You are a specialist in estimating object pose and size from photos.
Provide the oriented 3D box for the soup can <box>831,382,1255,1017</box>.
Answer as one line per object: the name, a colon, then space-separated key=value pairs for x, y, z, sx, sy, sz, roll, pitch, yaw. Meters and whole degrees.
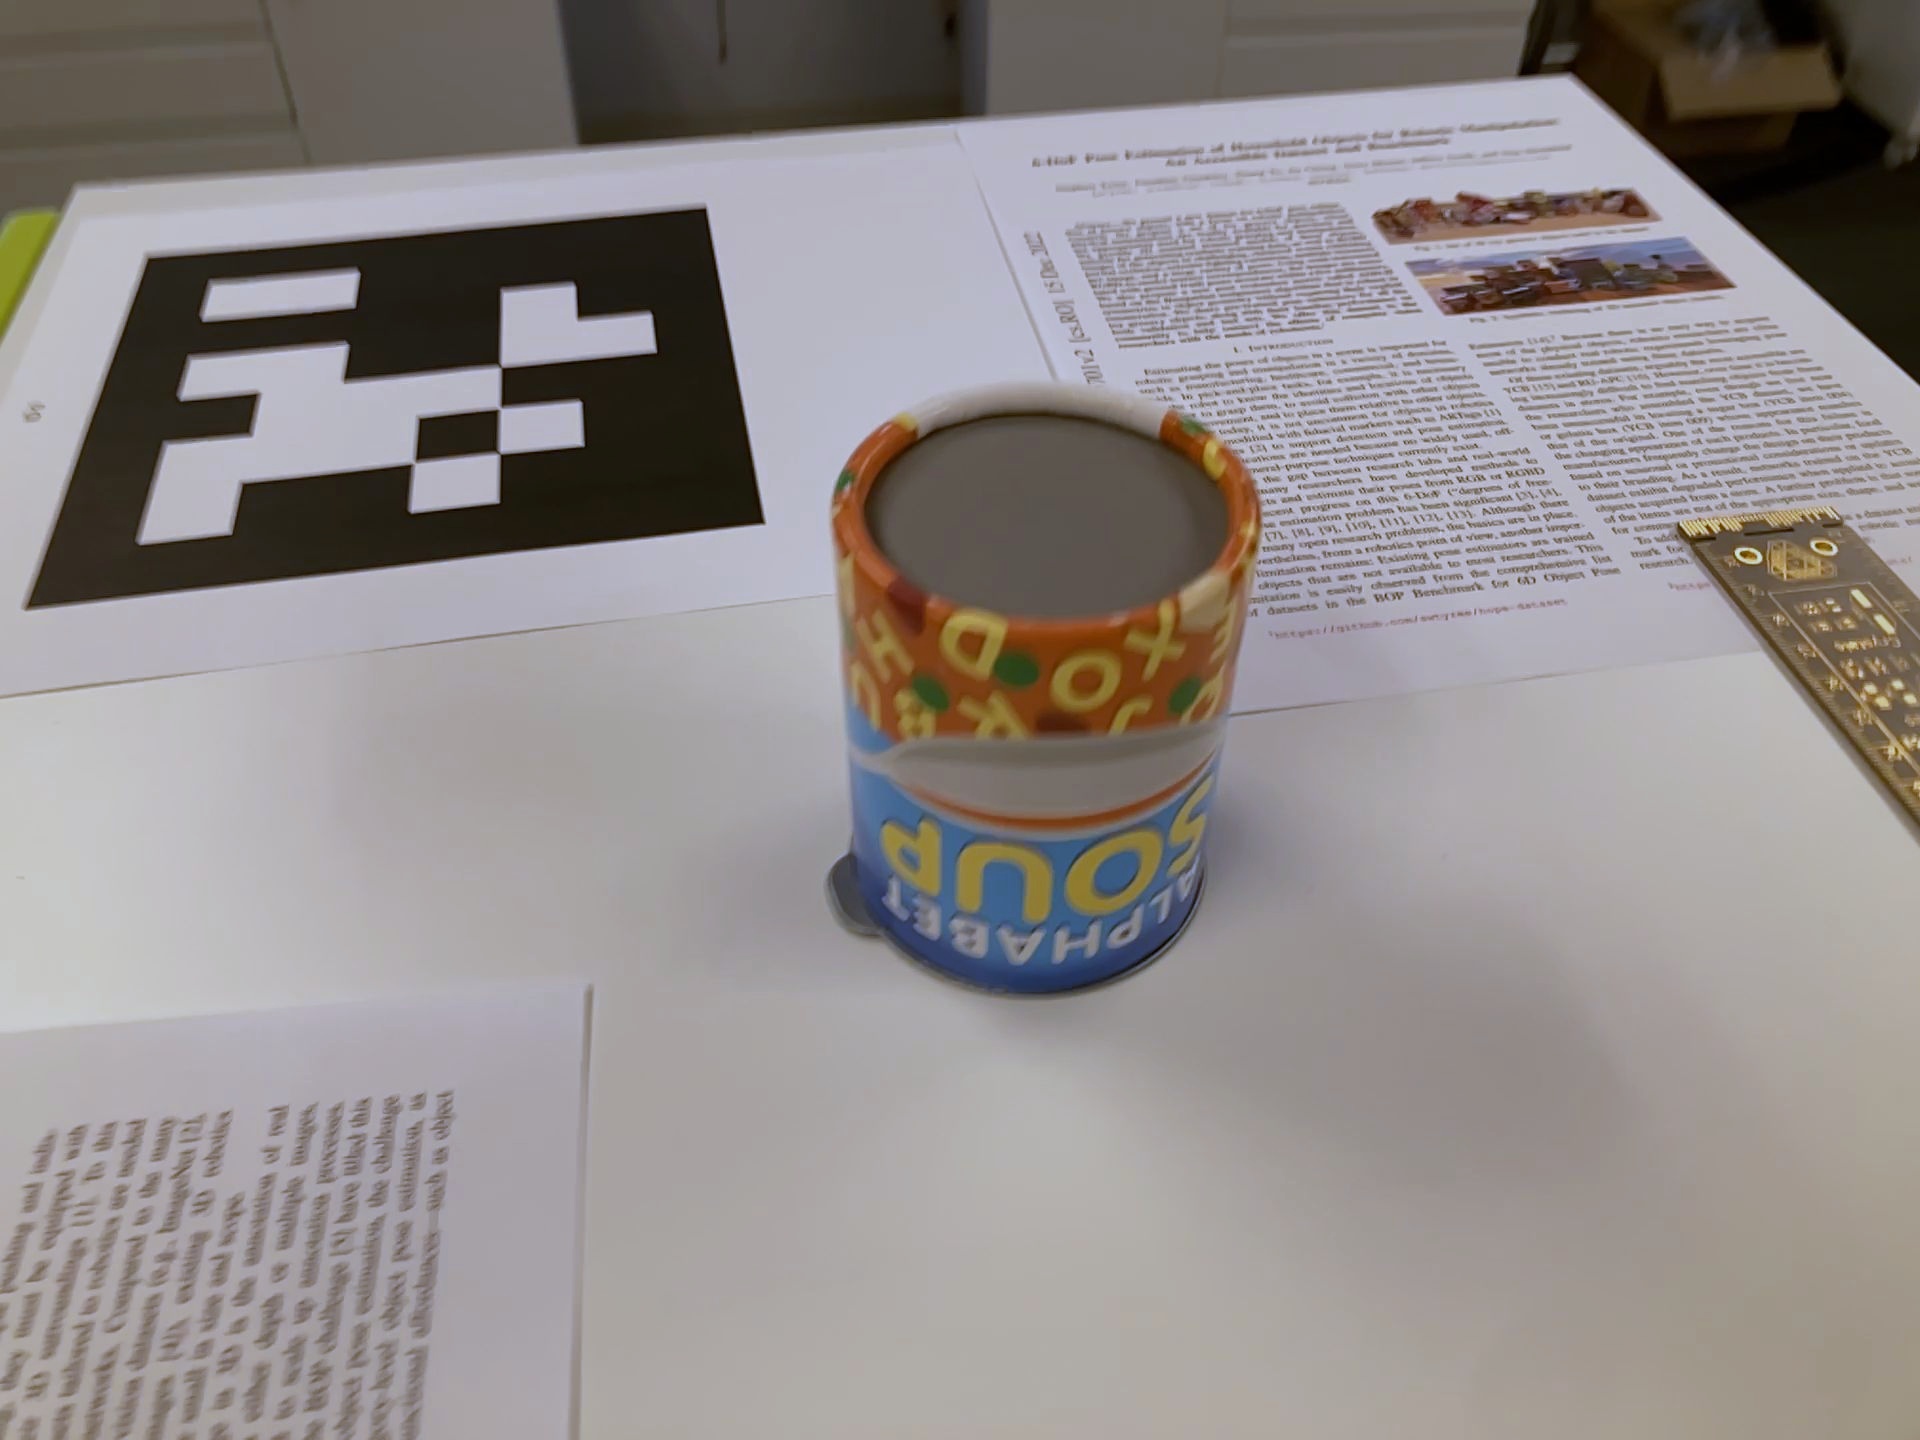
soup can: x=0.013 y=-0.003 z=0.270 sx=0.071 sy=0.084 sz=0.071 roll=0 pitch=45 yaw=0
